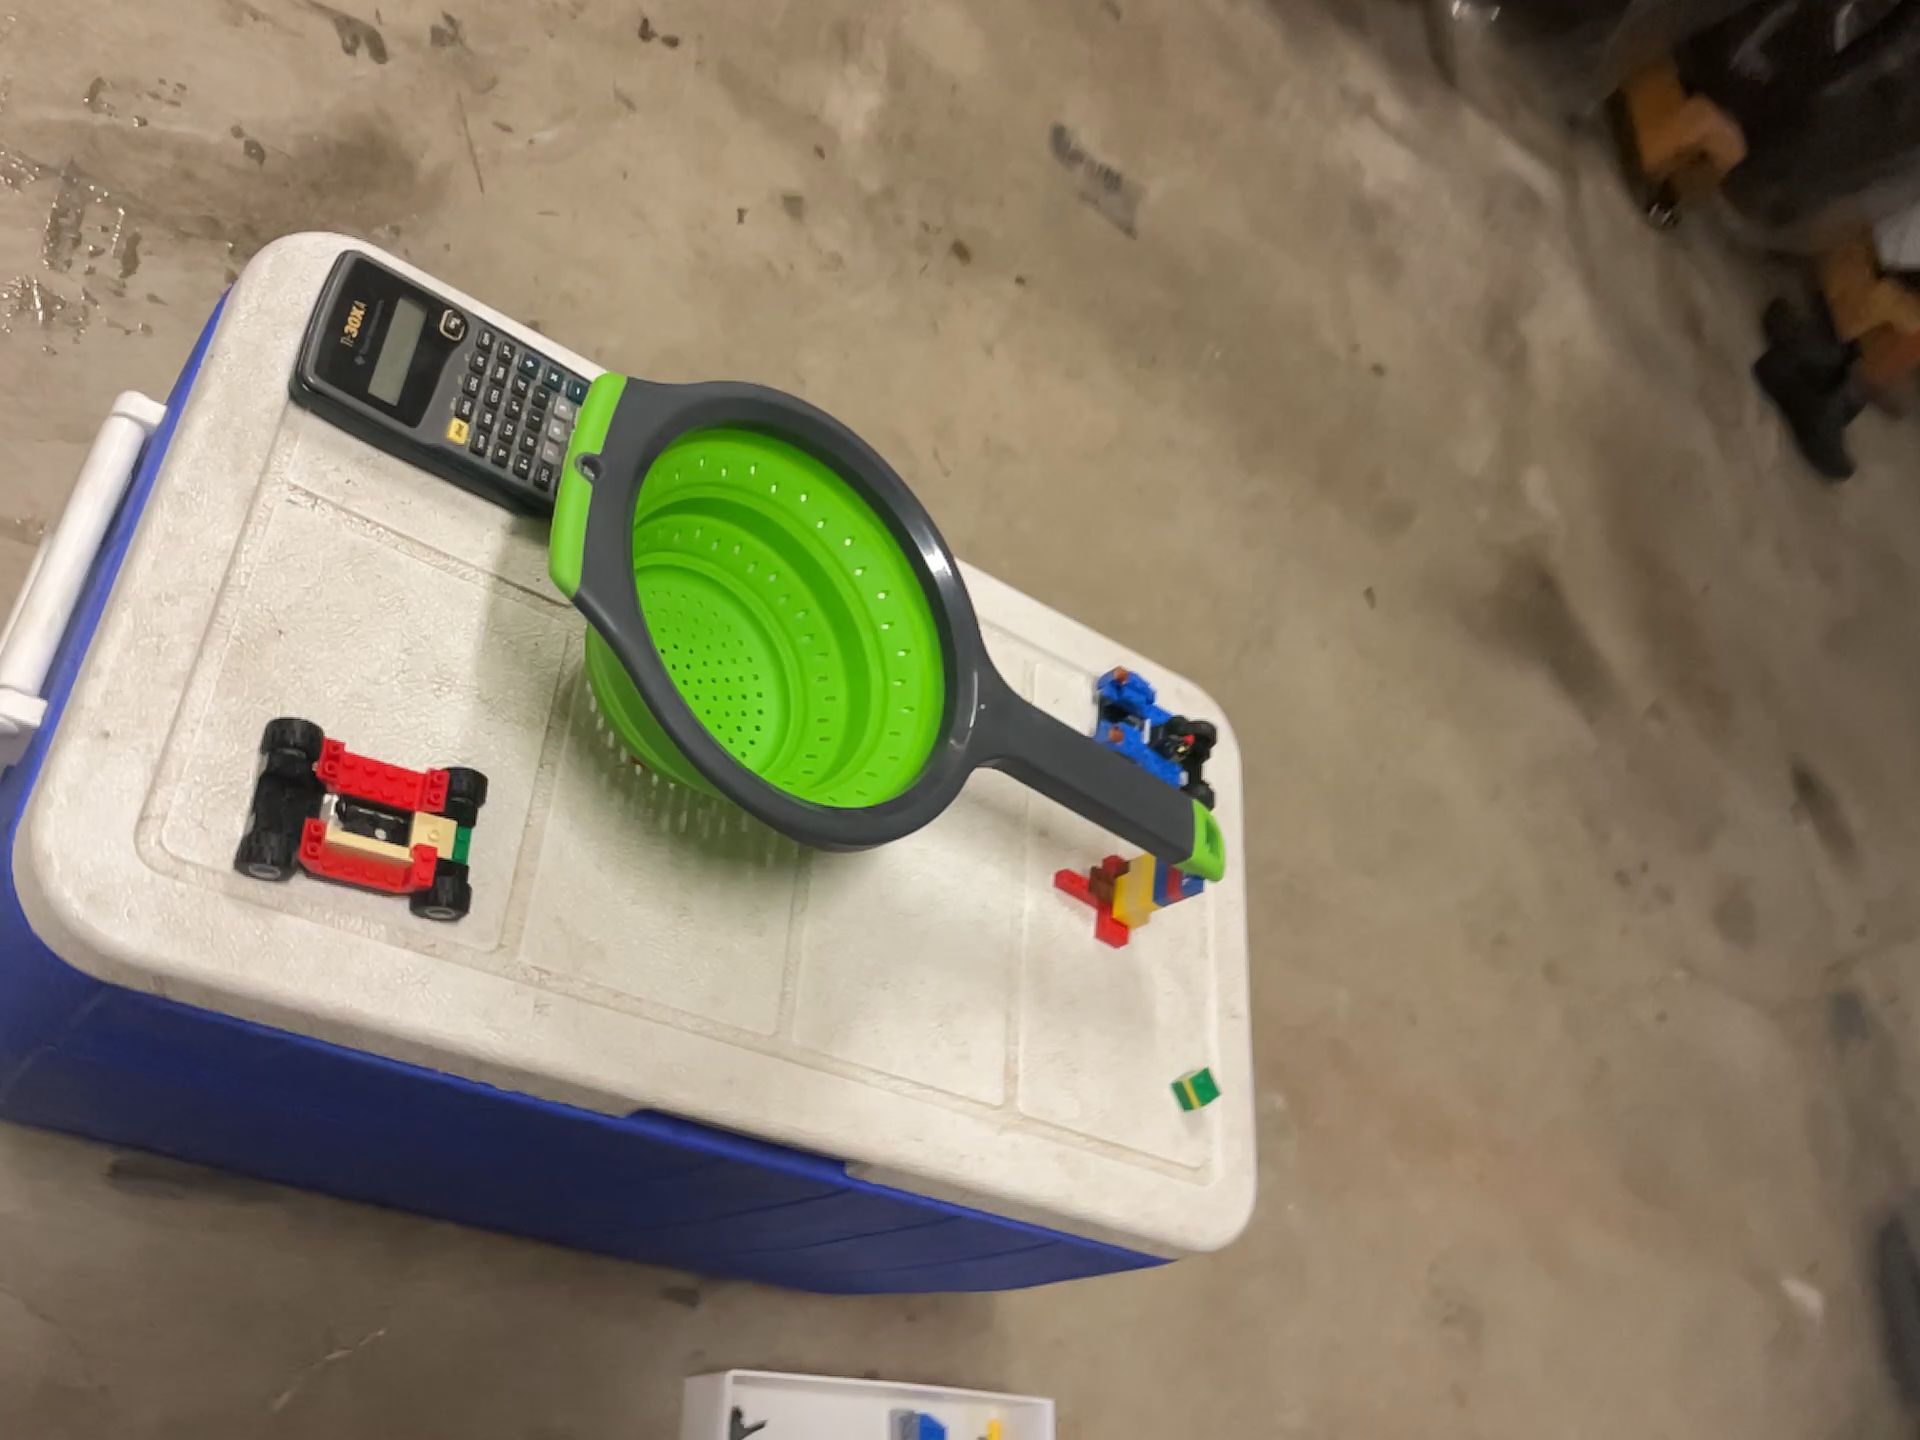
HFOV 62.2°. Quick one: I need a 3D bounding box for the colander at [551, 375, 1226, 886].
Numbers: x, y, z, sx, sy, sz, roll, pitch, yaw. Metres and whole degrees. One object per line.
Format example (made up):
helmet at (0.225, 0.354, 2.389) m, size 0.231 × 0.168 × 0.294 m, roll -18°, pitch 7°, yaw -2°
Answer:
colander at (-0.032, 0.002, 0.726) m, size 0.397 × 0.094 × 0.205 m, roll 30°, pitch 48°, yaw -34°
